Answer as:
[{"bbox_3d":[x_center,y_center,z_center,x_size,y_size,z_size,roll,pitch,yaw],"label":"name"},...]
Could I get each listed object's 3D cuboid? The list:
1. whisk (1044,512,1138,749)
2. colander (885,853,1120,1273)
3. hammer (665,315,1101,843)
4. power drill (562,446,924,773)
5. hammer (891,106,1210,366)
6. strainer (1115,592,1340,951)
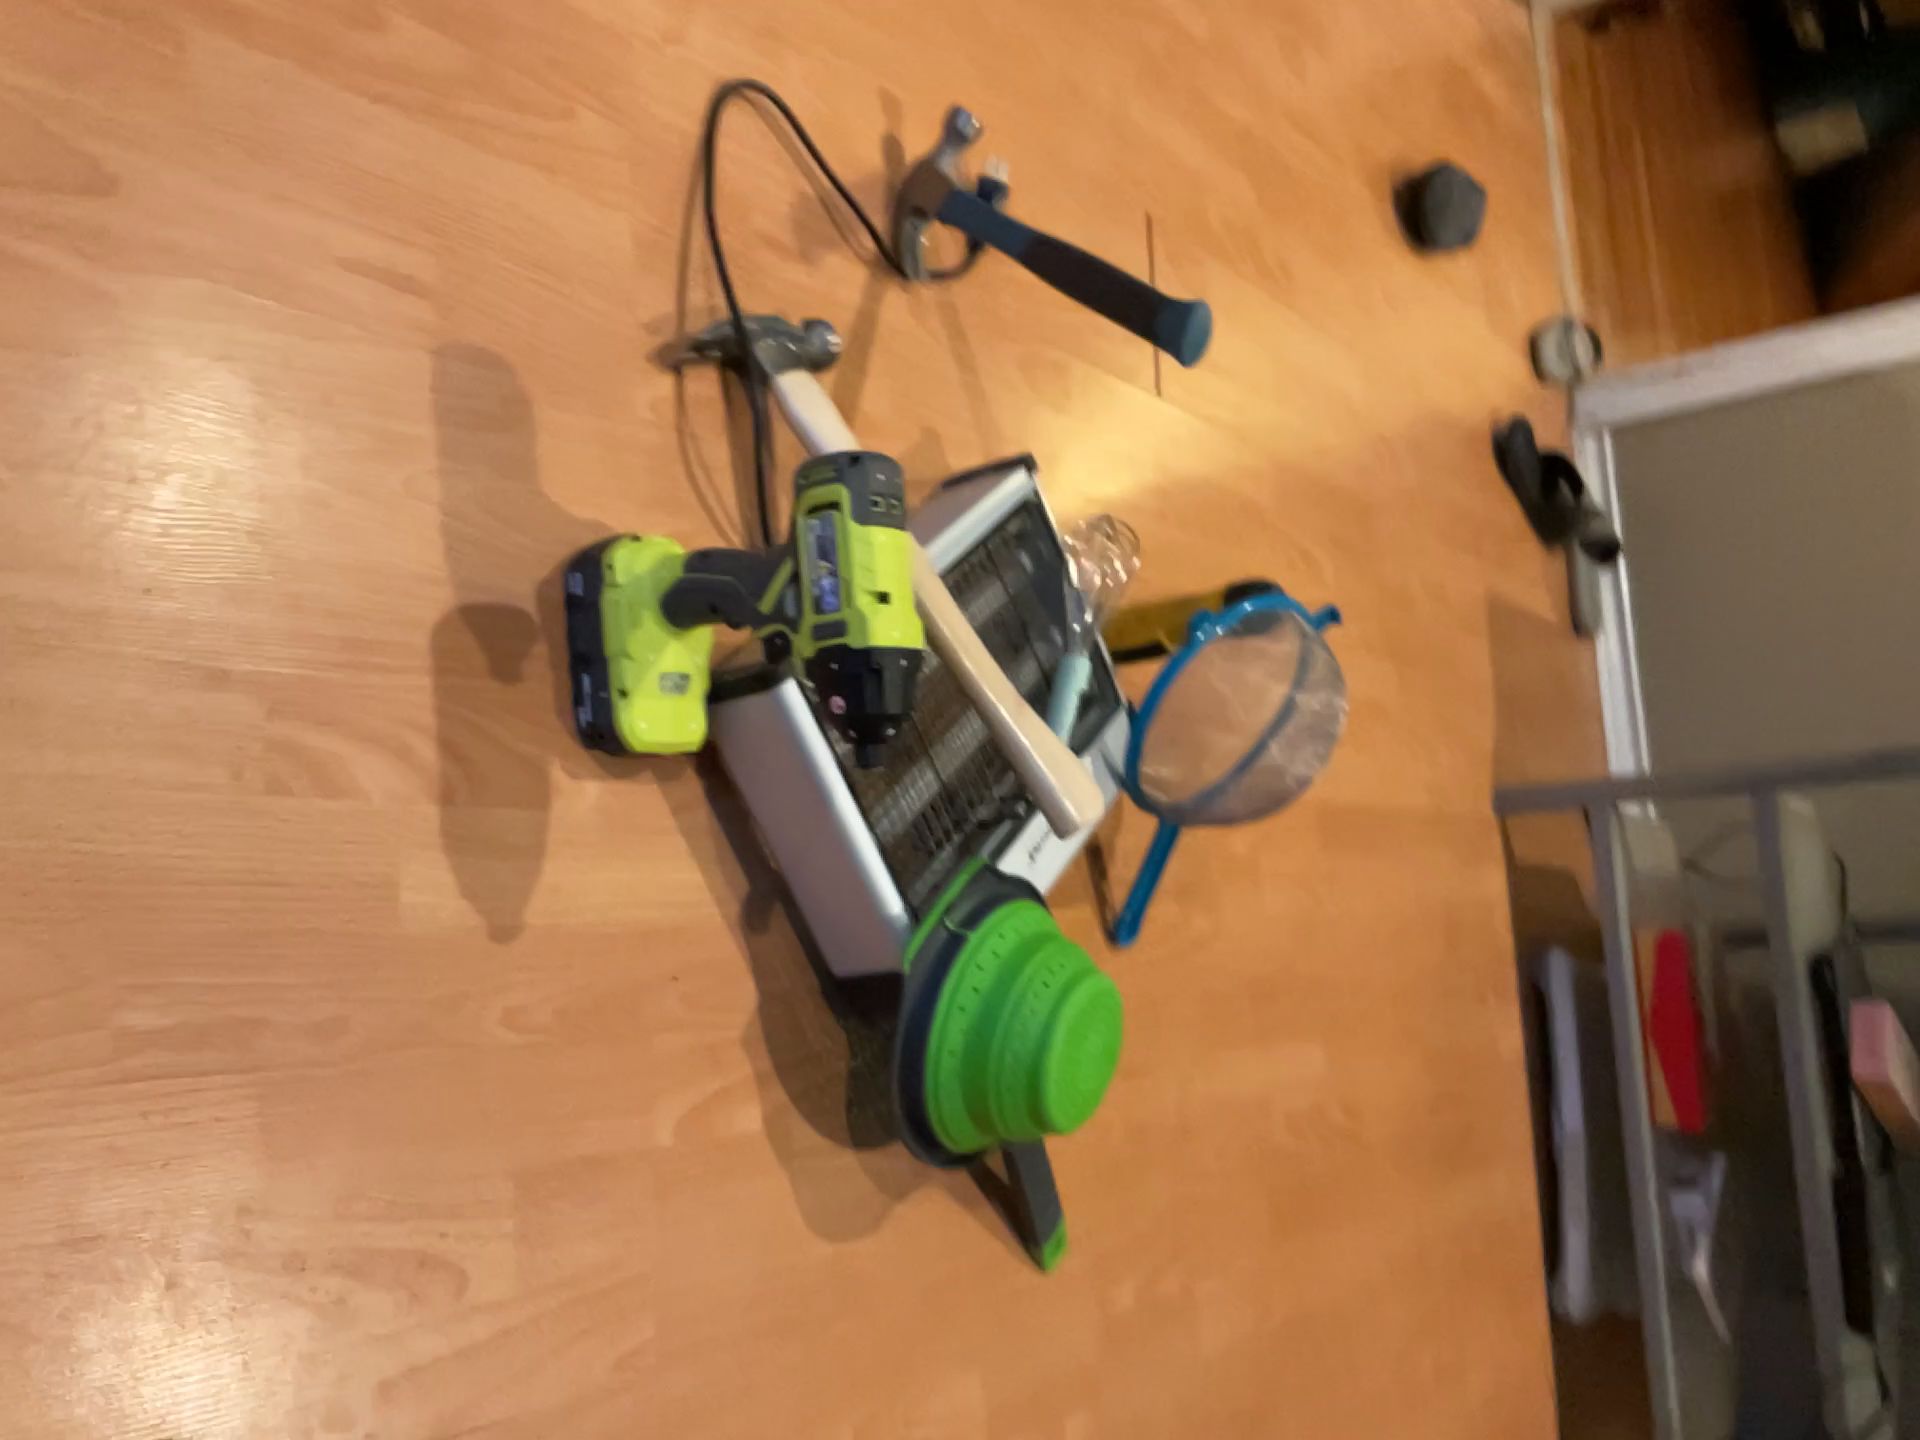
[{"bbox_3d":[0.089,-0.052,1.214,0.057,0.059,0.246,76,26,-63],"label":"whisk"},{"bbox_3d":[0.061,0.274,1.124,0.205,0.094,0.396,-50,139,-38],"label":"colander"},{"bbox_3d":[-0.039,-0.096,1.062,0.410,0.038,0.146,57,35,7],"label":"hammer"},{"bbox_3d":[-0.121,-0.047,0.911,0.080,0.223,0.171,1,82,-53],"label":"power drill"},{"bbox_3d":[0.062,-0.343,1.177,0.033,0.331,0.128,19,107,-51],"label":"hammer"},{"bbox_3d":[0.216,0.066,1.307,0.211,0.095,0.340,-5,123,-44],"label":"strainer"}]
